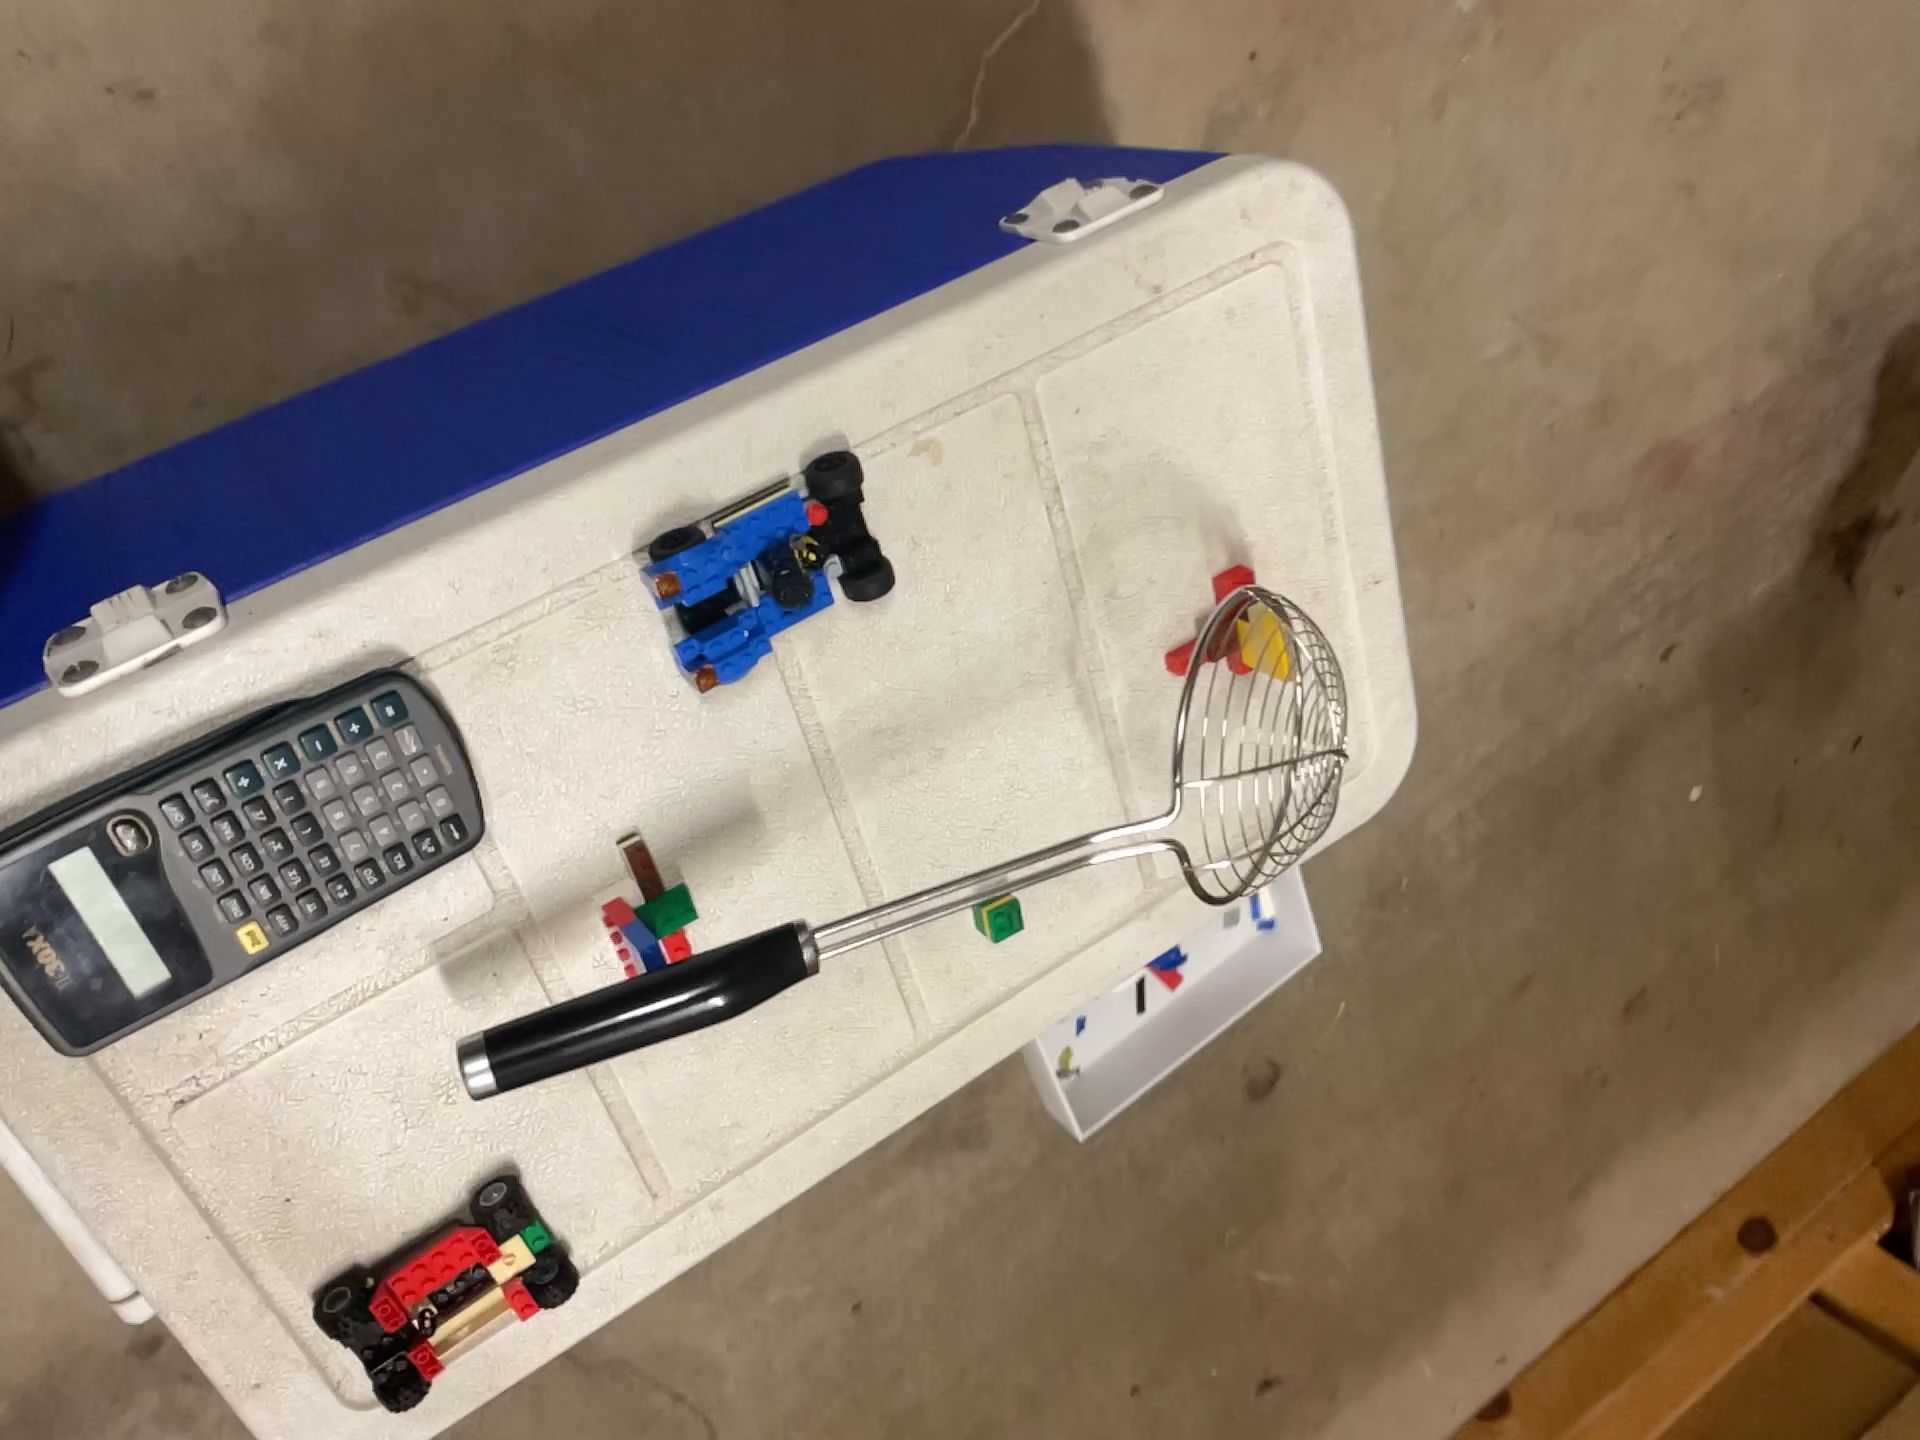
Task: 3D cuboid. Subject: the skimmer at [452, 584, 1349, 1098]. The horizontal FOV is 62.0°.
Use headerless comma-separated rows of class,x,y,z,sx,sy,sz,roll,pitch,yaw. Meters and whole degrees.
skimmer,-0.009,0.050,0.602,0.363,0.090,0.127,-18,119,-13
